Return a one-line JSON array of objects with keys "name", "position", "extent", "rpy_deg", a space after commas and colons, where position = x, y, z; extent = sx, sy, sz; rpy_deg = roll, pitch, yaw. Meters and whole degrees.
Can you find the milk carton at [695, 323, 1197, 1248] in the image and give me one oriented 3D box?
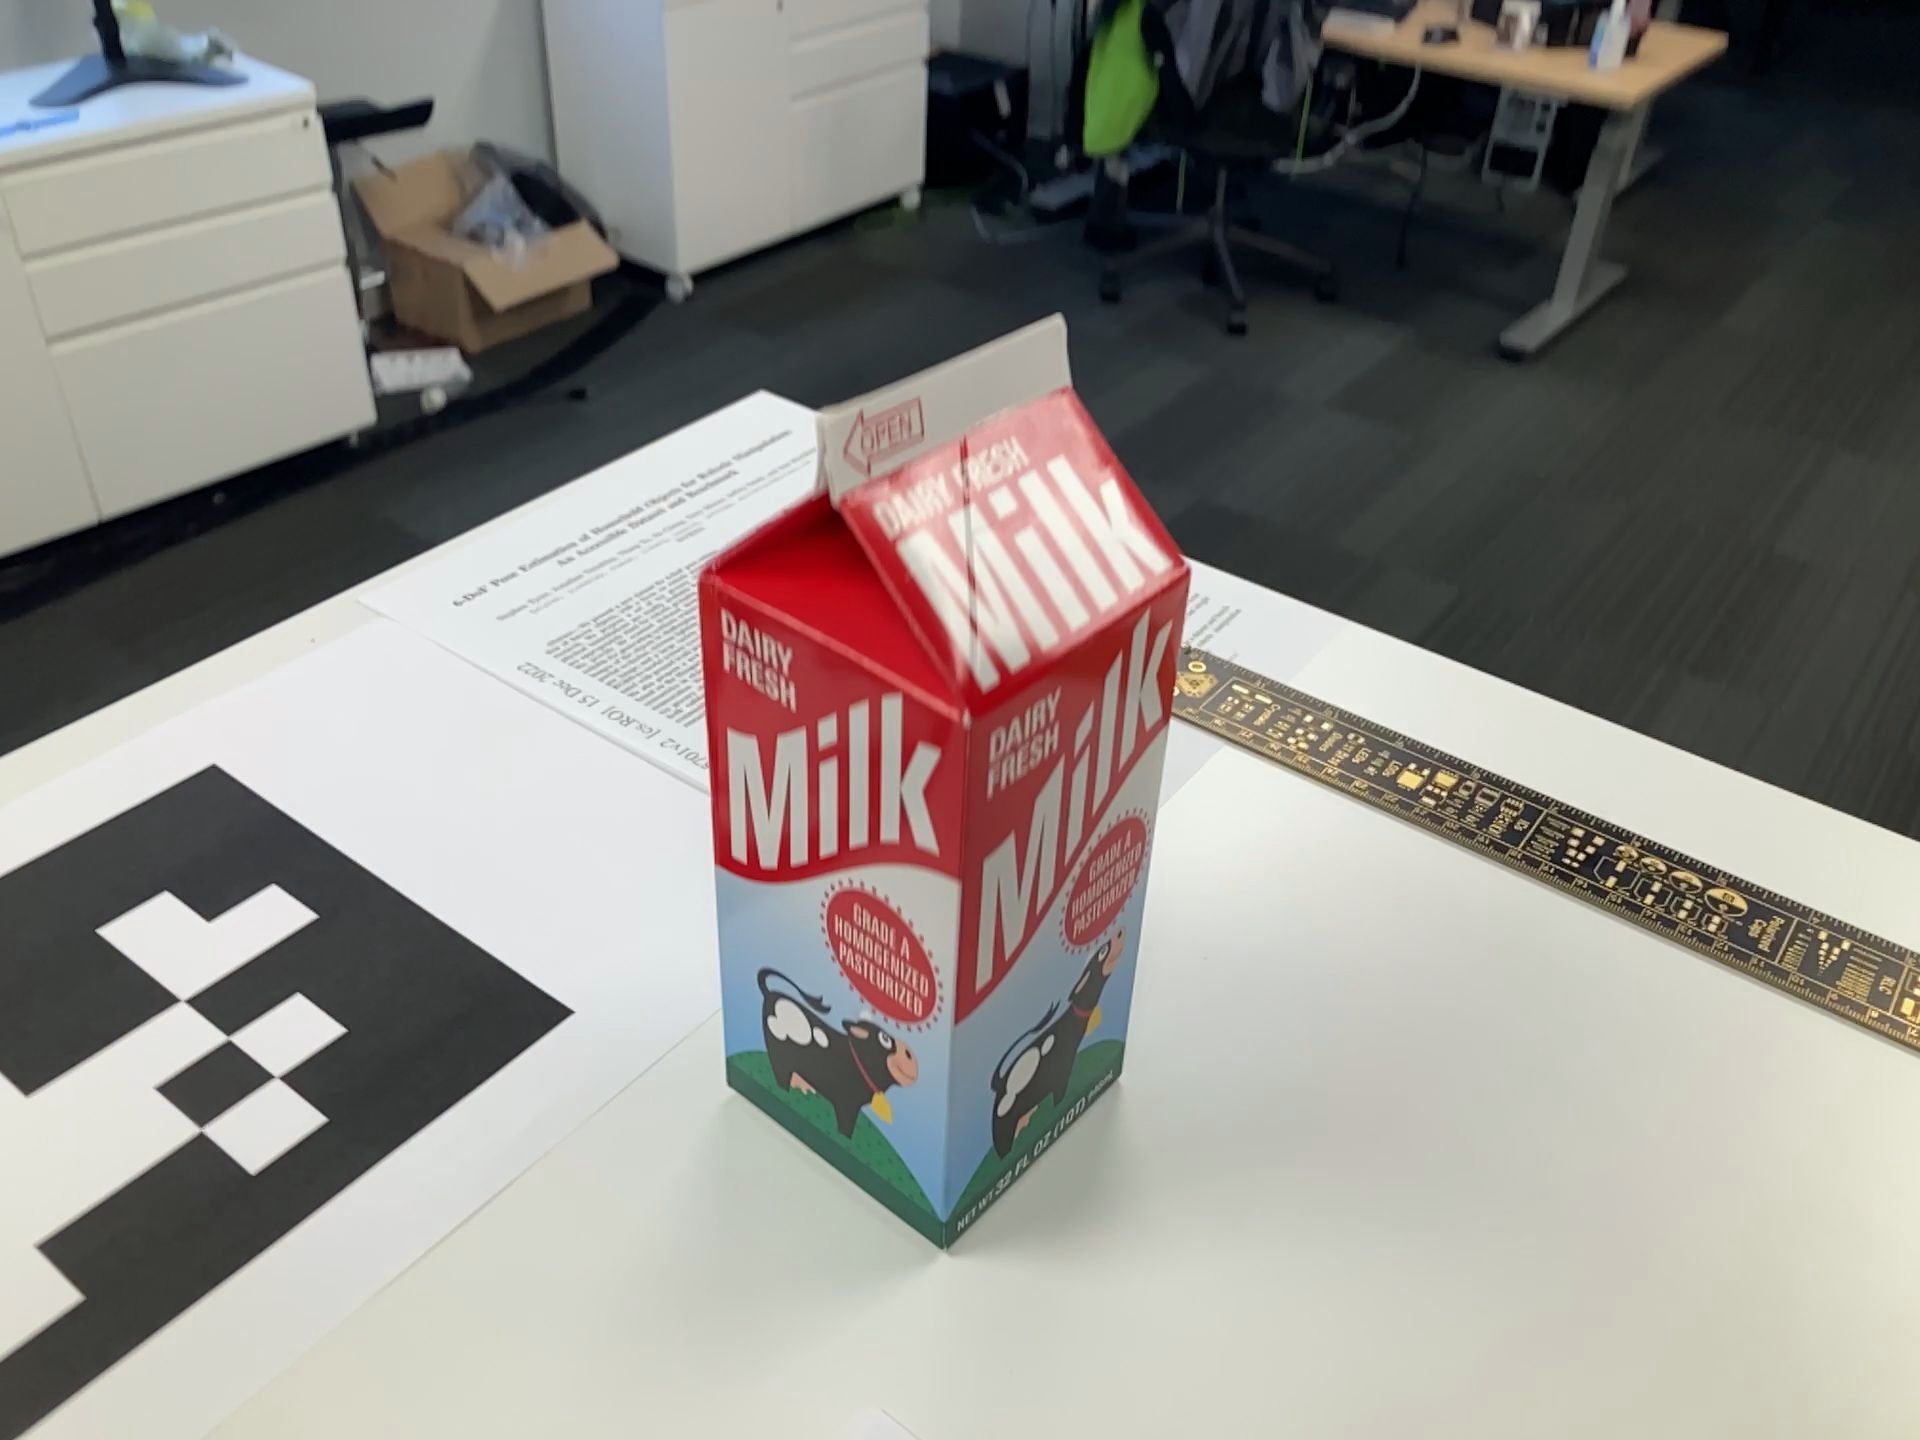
[{"name": "milk carton", "position": [-0.004, 0.014, 0.340], "extent": [0.073, 0.190, 0.072], "rpy_deg": [28, 42, 30]}]
